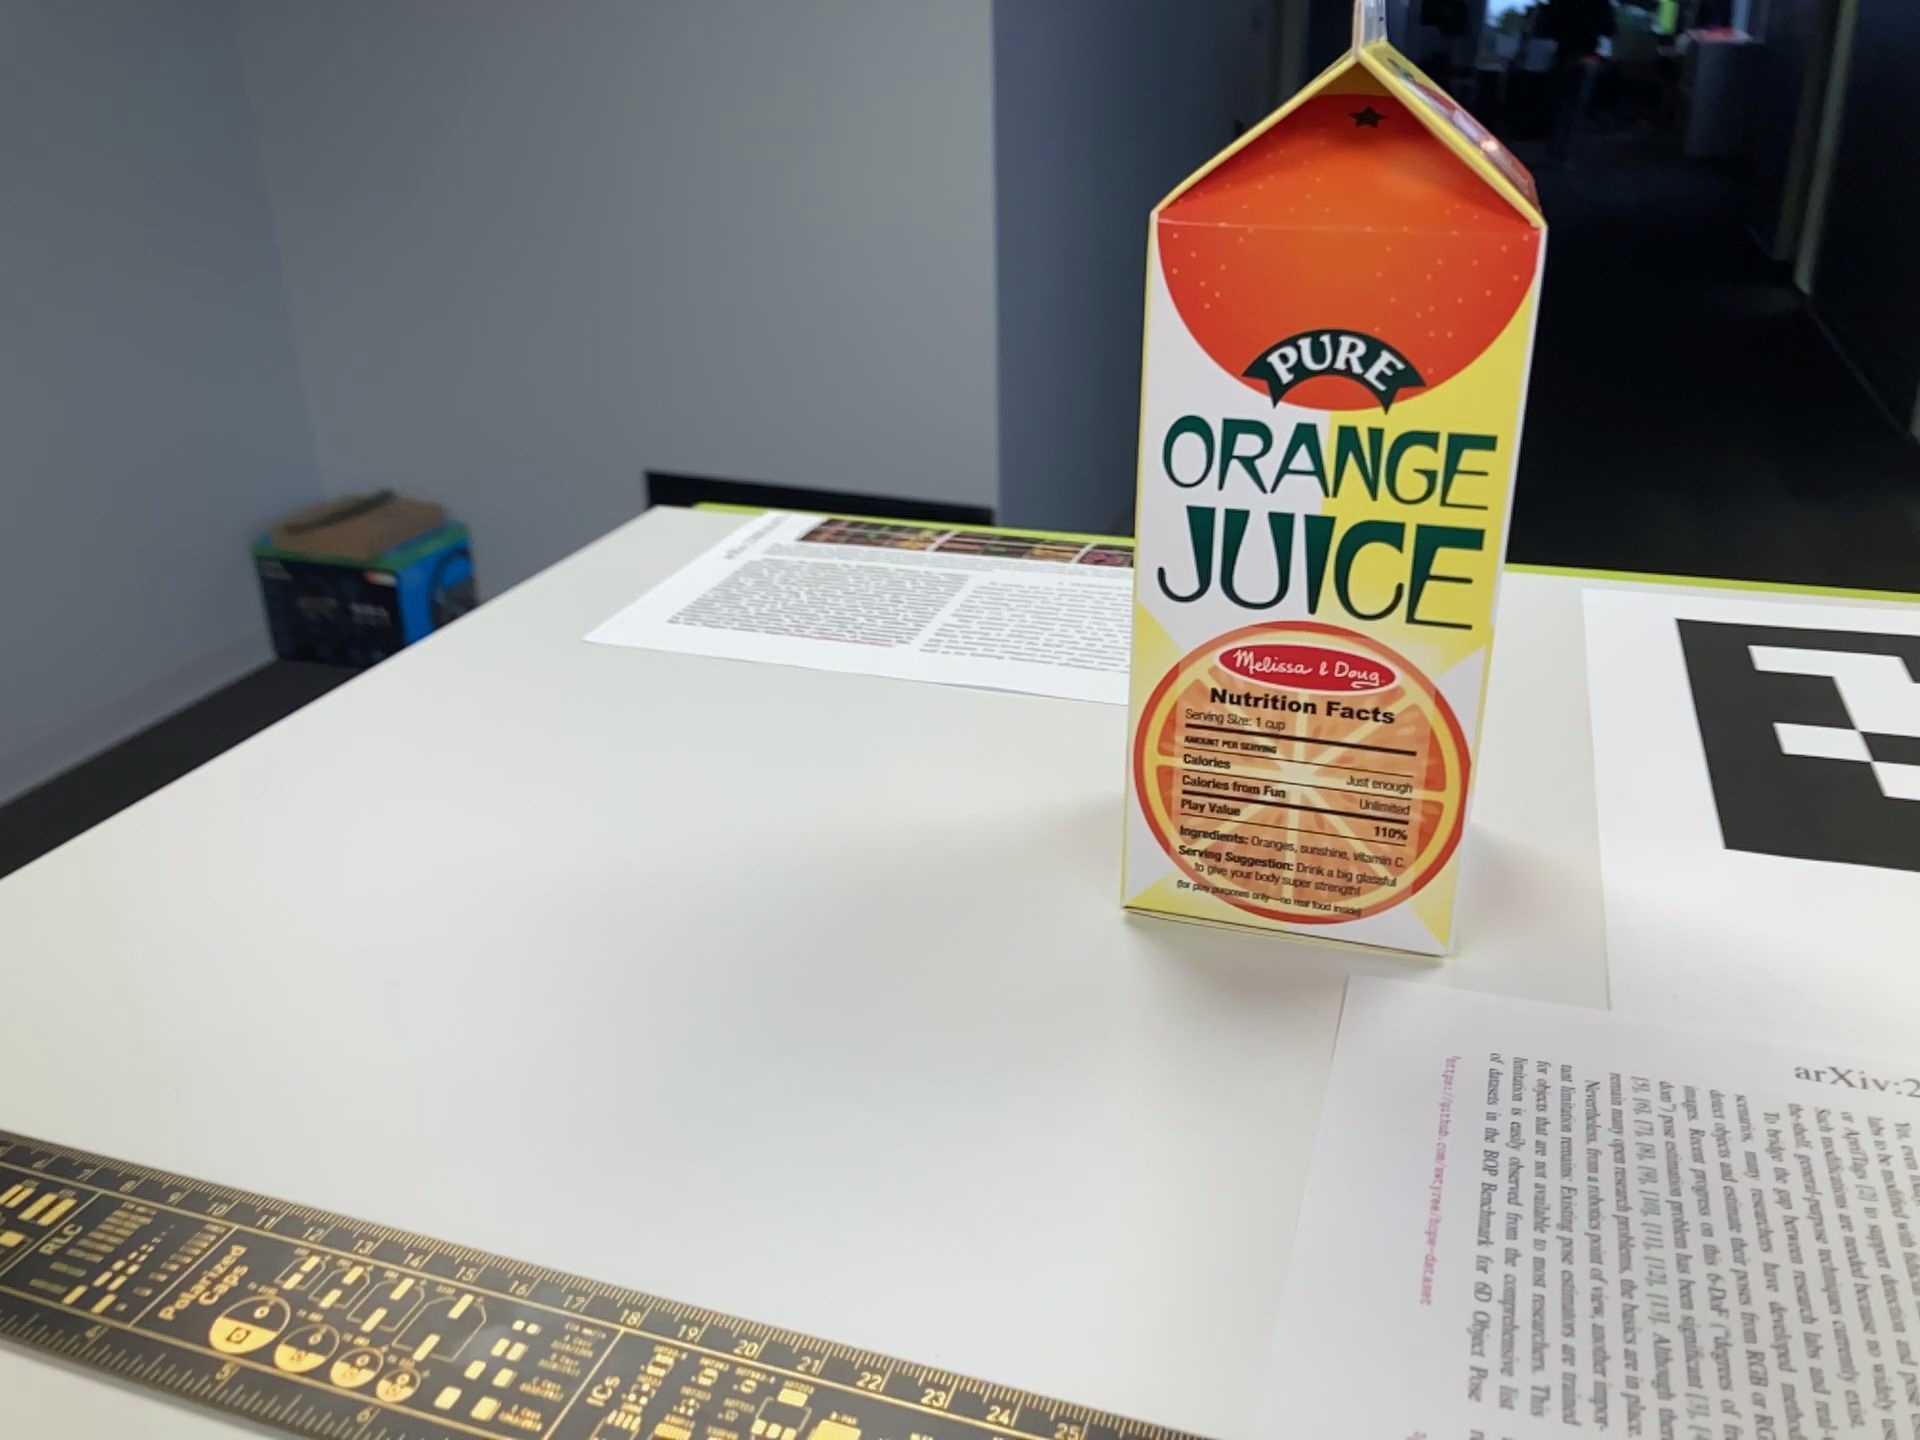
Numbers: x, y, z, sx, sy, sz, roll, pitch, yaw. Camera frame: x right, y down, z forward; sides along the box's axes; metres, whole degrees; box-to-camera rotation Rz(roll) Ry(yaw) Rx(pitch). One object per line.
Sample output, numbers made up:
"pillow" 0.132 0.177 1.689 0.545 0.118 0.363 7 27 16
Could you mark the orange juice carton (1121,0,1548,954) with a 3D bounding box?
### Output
"orange juice carton" 0.079 -0.054 0.336 0.073 0.192 0.072 7 24 16
